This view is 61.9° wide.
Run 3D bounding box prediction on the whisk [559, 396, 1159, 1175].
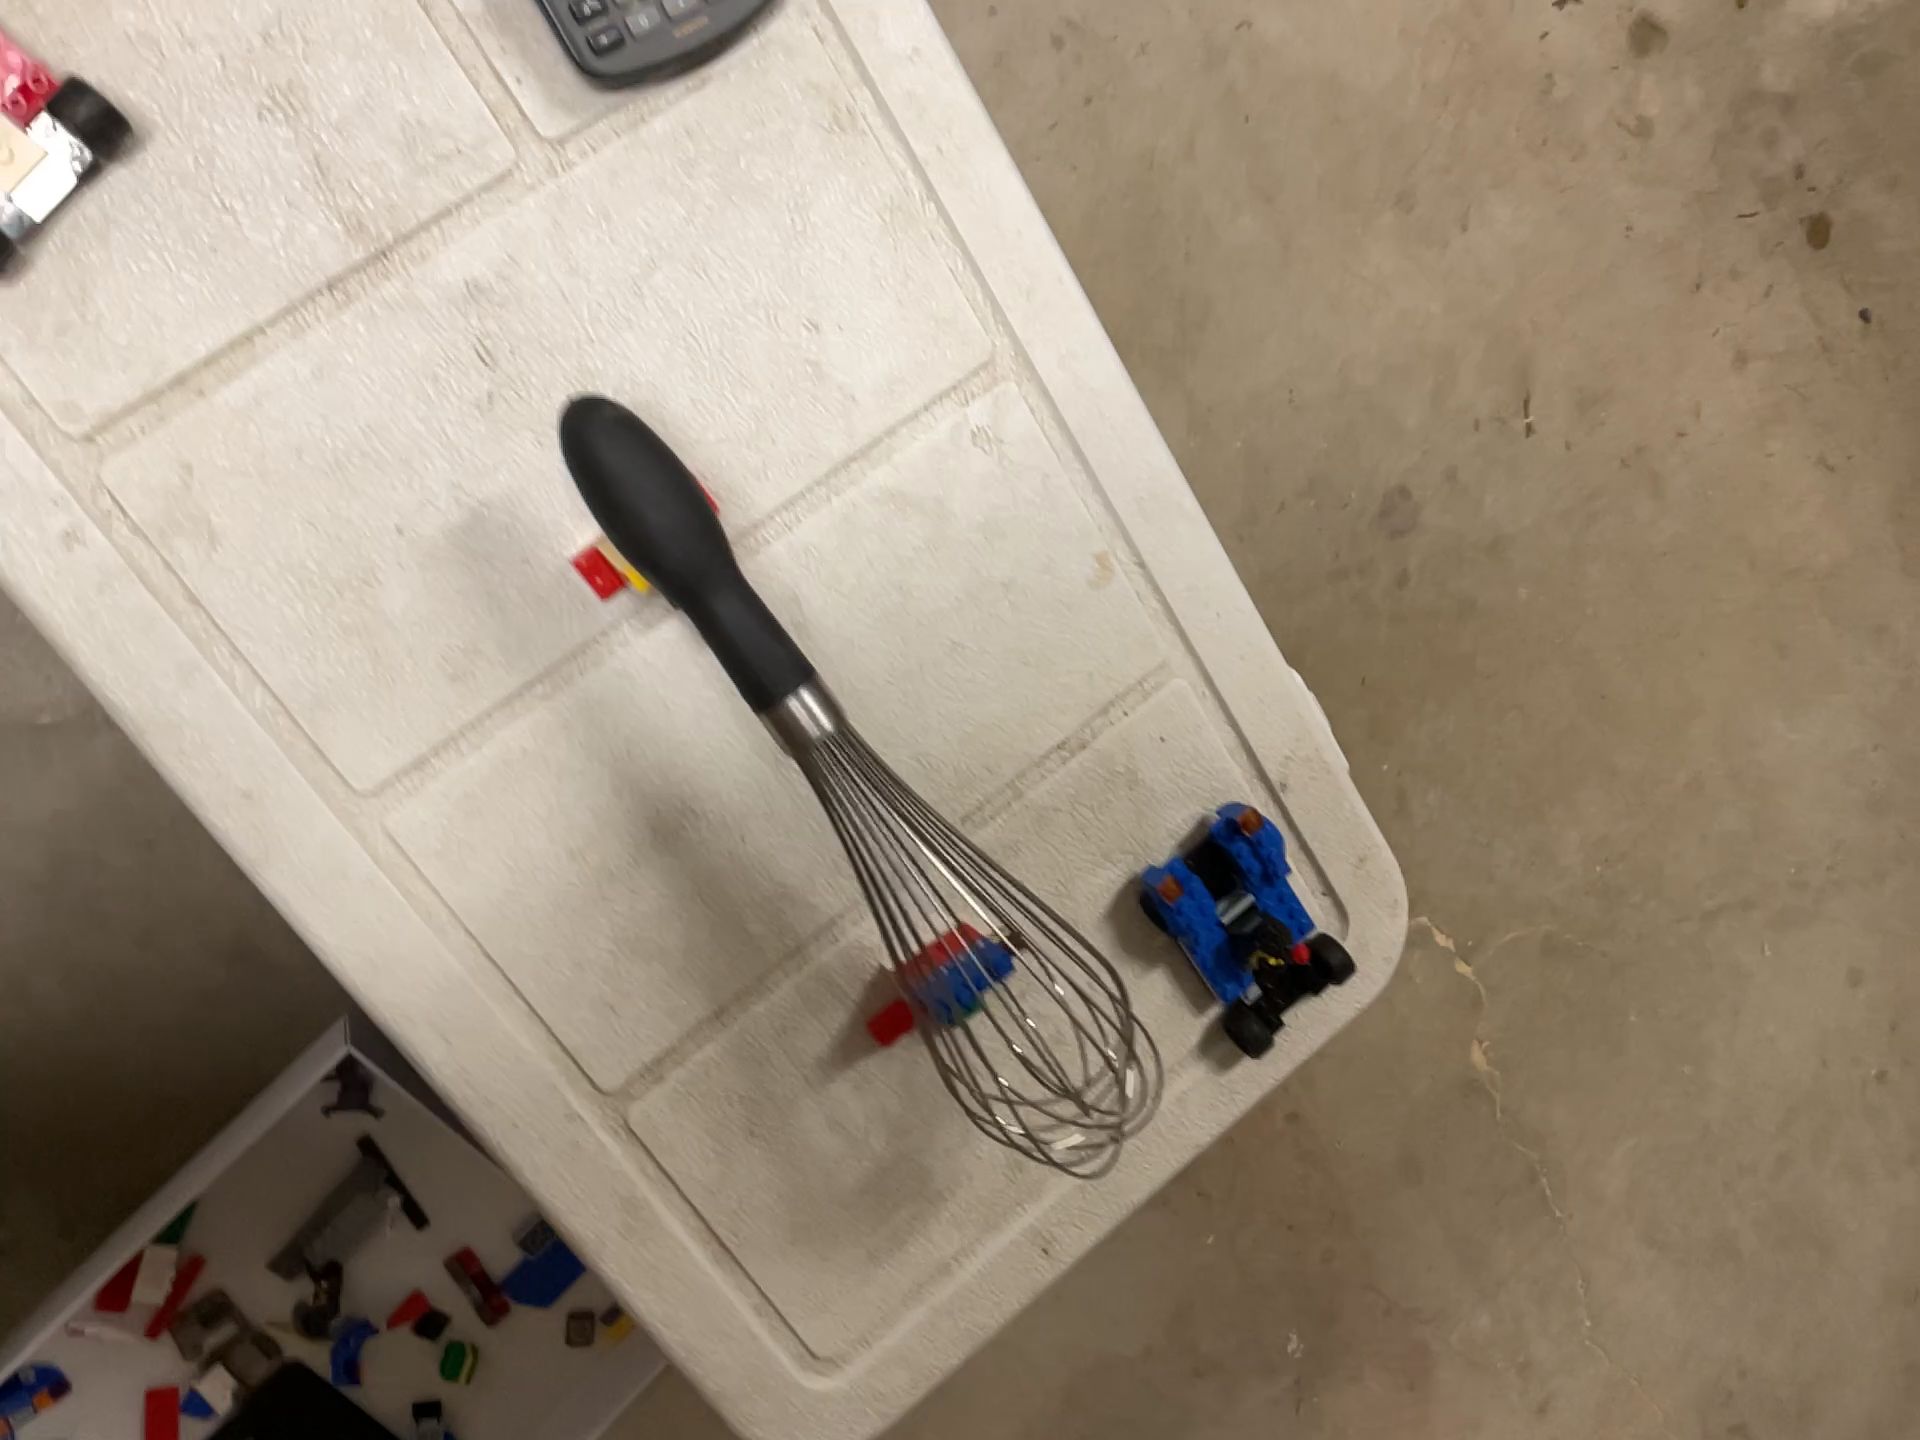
[{"bbox_3d":[-0.029,0.024,0.482,0.070,0.070,0.284,-37,104,-7],"label":"whisk"}]
